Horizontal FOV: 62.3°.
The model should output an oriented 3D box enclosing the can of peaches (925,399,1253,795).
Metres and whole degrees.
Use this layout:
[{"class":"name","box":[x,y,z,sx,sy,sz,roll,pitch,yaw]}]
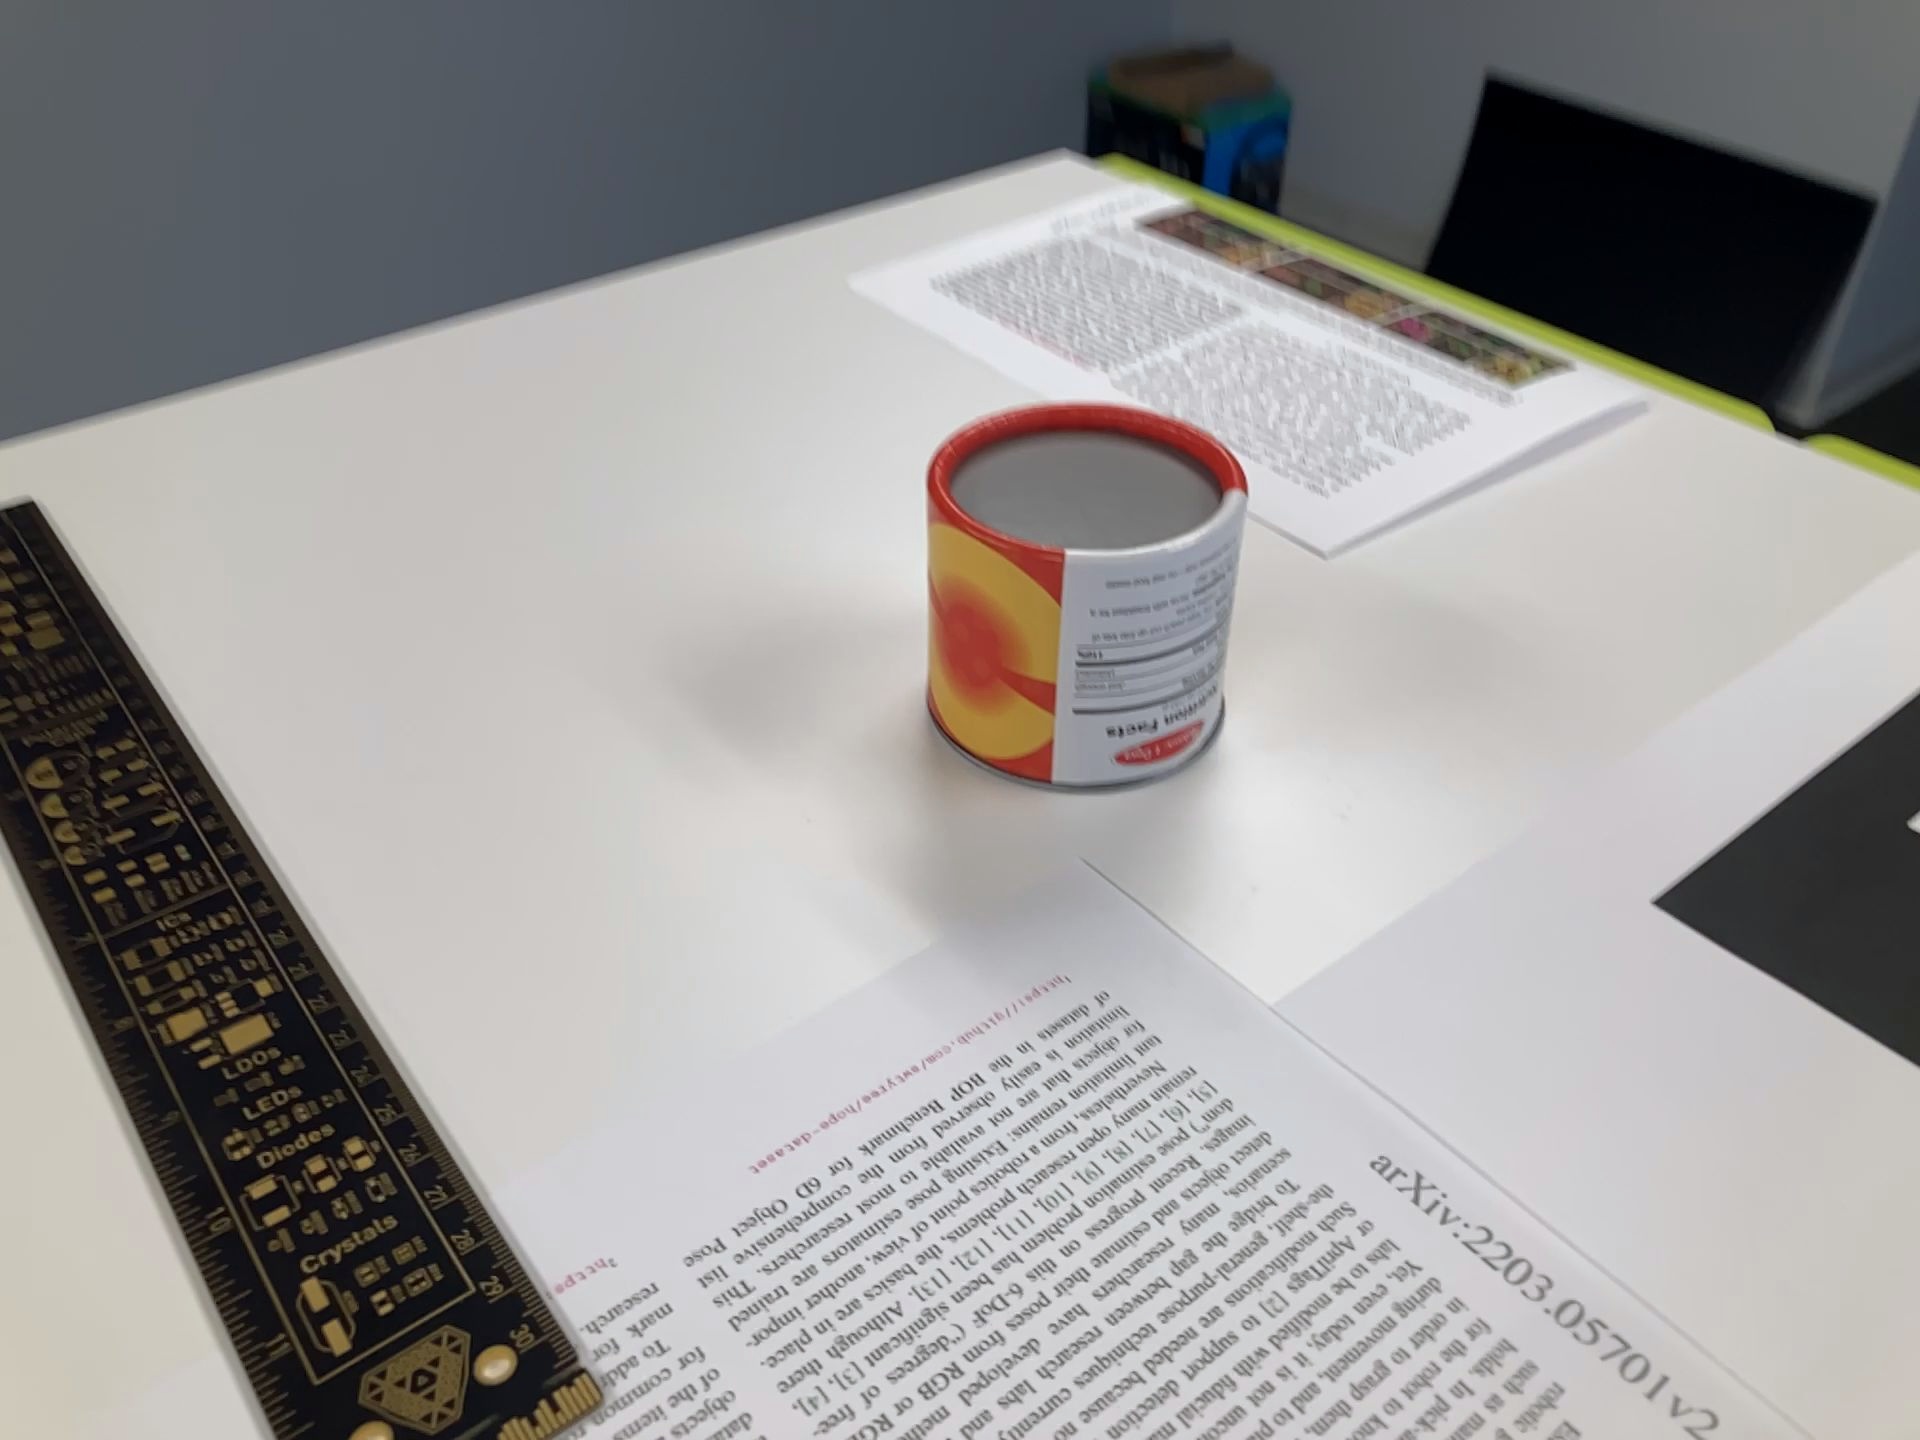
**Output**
[{"class":"can of peaches","box":[0.024,-0.029,0.334,0.071,0.058,0.071,0,39,0]}]
